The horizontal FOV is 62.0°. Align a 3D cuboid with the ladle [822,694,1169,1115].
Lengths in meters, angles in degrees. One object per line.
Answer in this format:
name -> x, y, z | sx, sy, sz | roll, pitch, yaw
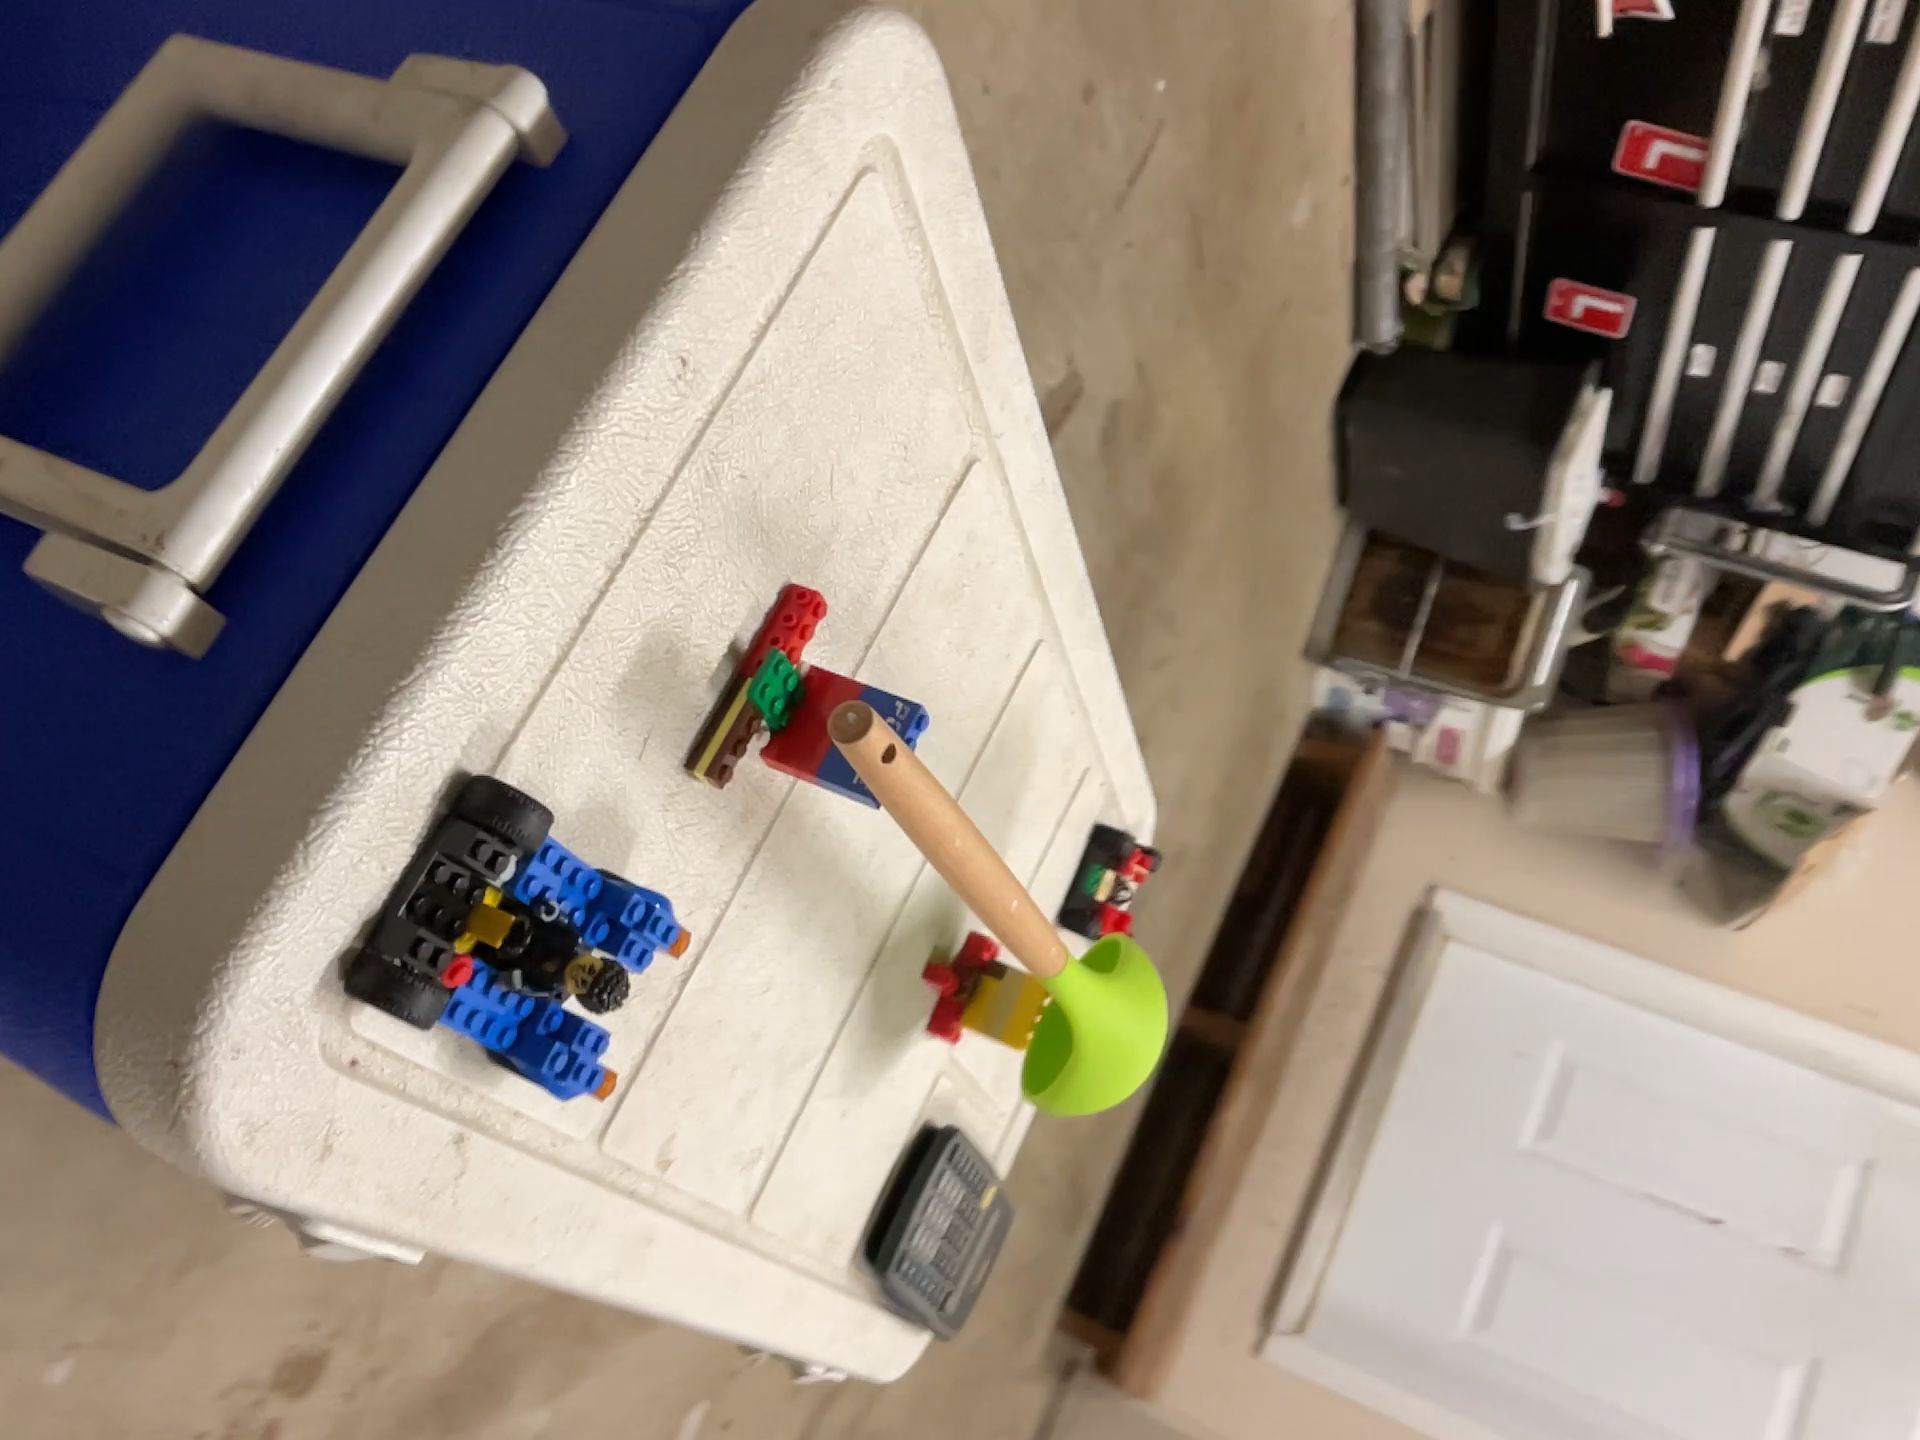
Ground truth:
ladle -> 0.012, 0.067, 0.542 | 0.078, 0.062, 0.320 | -58, 149, -14
